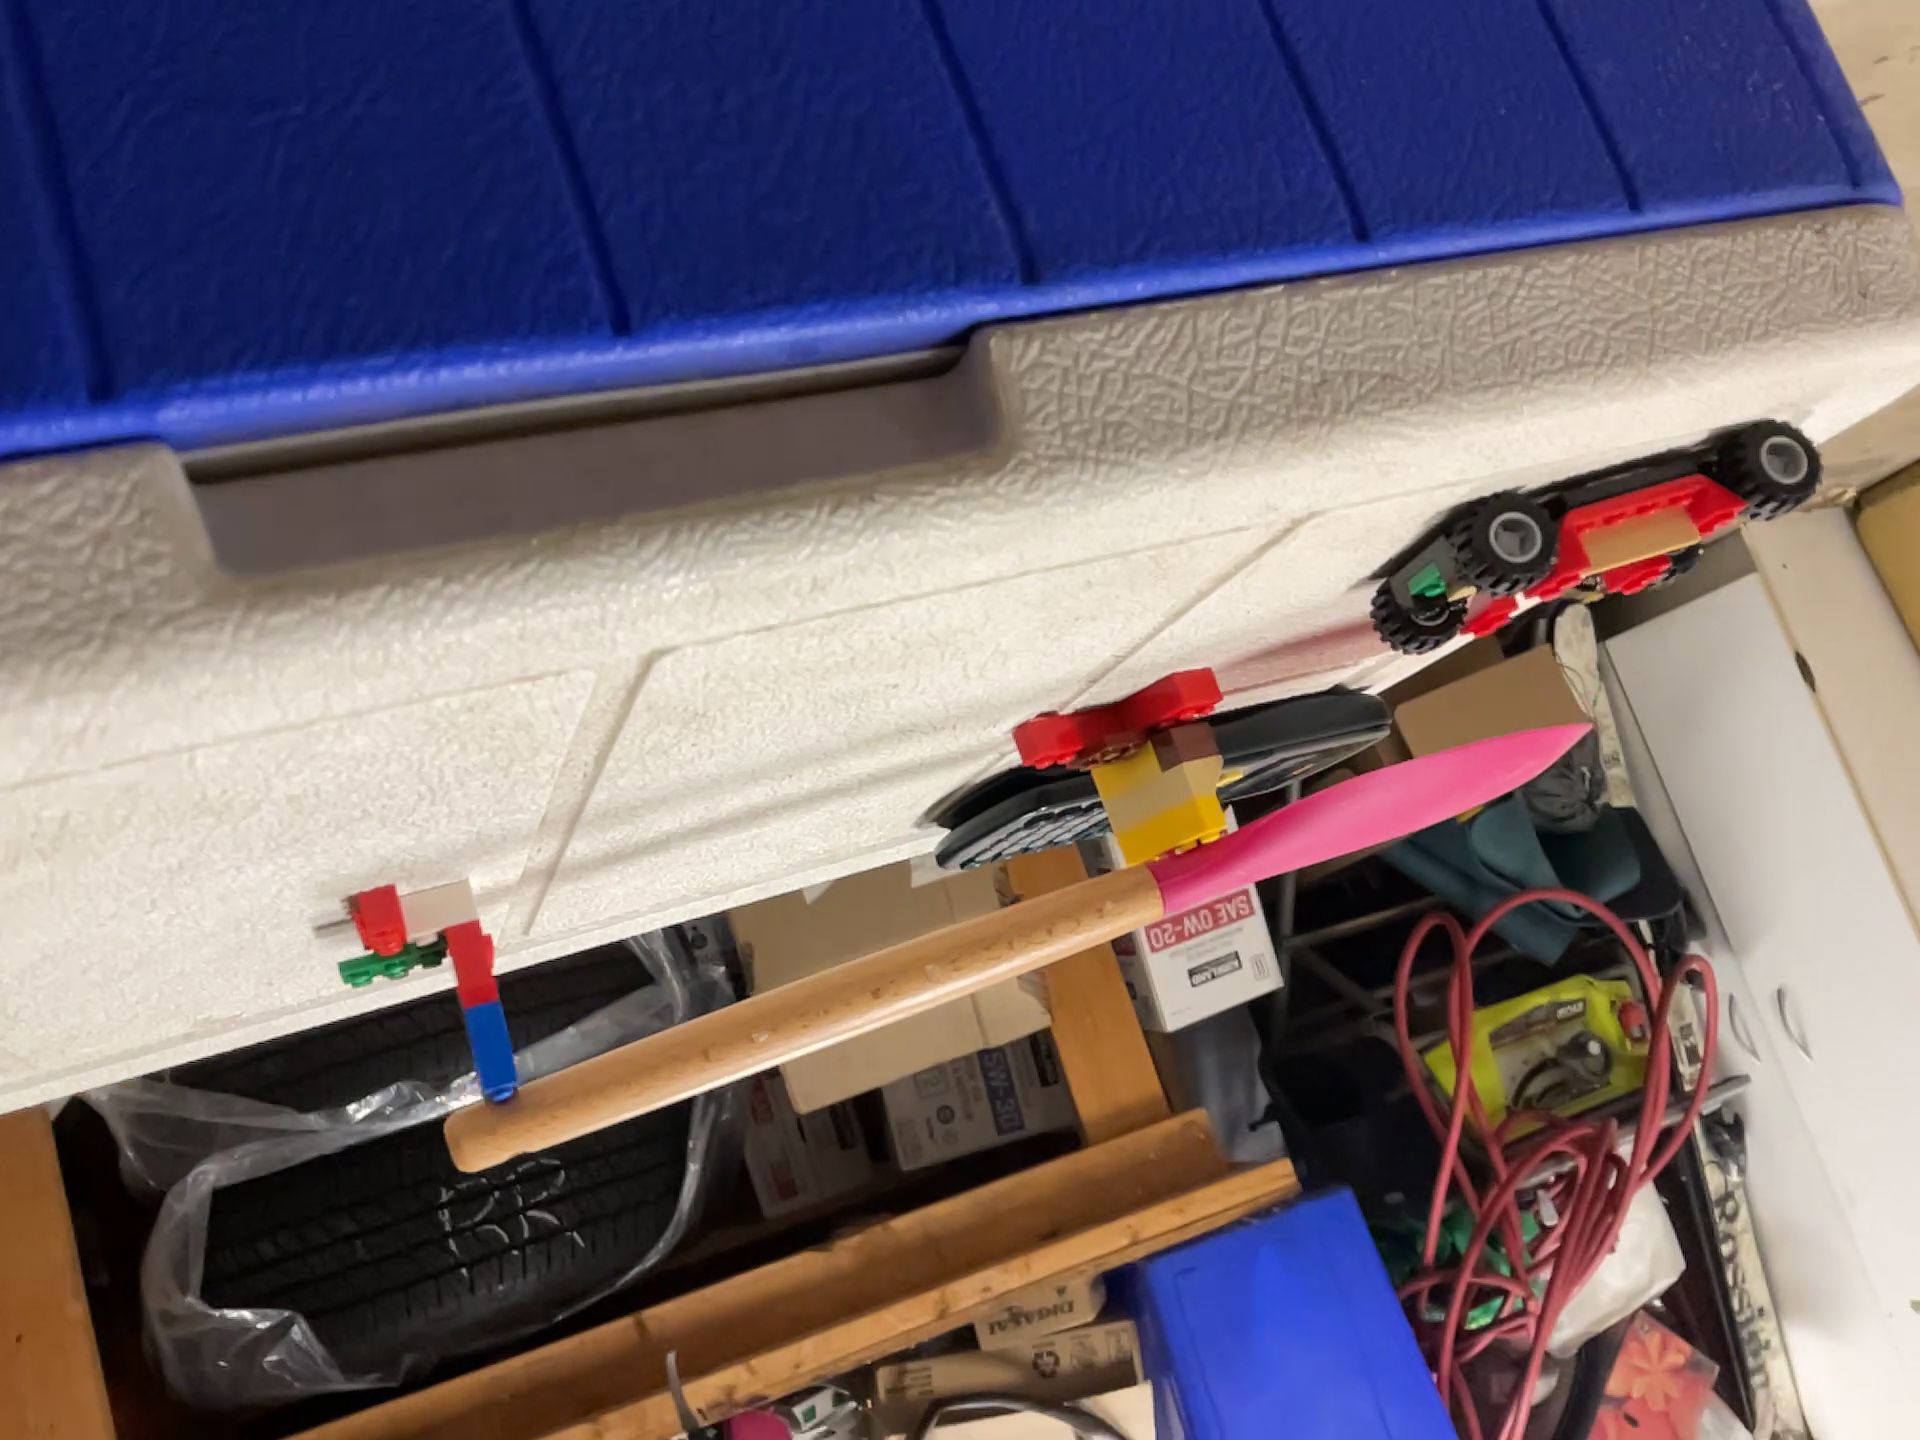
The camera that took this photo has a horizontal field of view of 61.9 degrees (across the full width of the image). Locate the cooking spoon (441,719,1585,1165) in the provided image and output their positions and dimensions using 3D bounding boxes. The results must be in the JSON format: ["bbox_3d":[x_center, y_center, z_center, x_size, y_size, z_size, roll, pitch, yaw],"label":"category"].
[{"bbox_3d":[0.026,0.052,0.417,0.319,0.017,0.068,-17,164,-15],"label":"cooking spoon"}]
